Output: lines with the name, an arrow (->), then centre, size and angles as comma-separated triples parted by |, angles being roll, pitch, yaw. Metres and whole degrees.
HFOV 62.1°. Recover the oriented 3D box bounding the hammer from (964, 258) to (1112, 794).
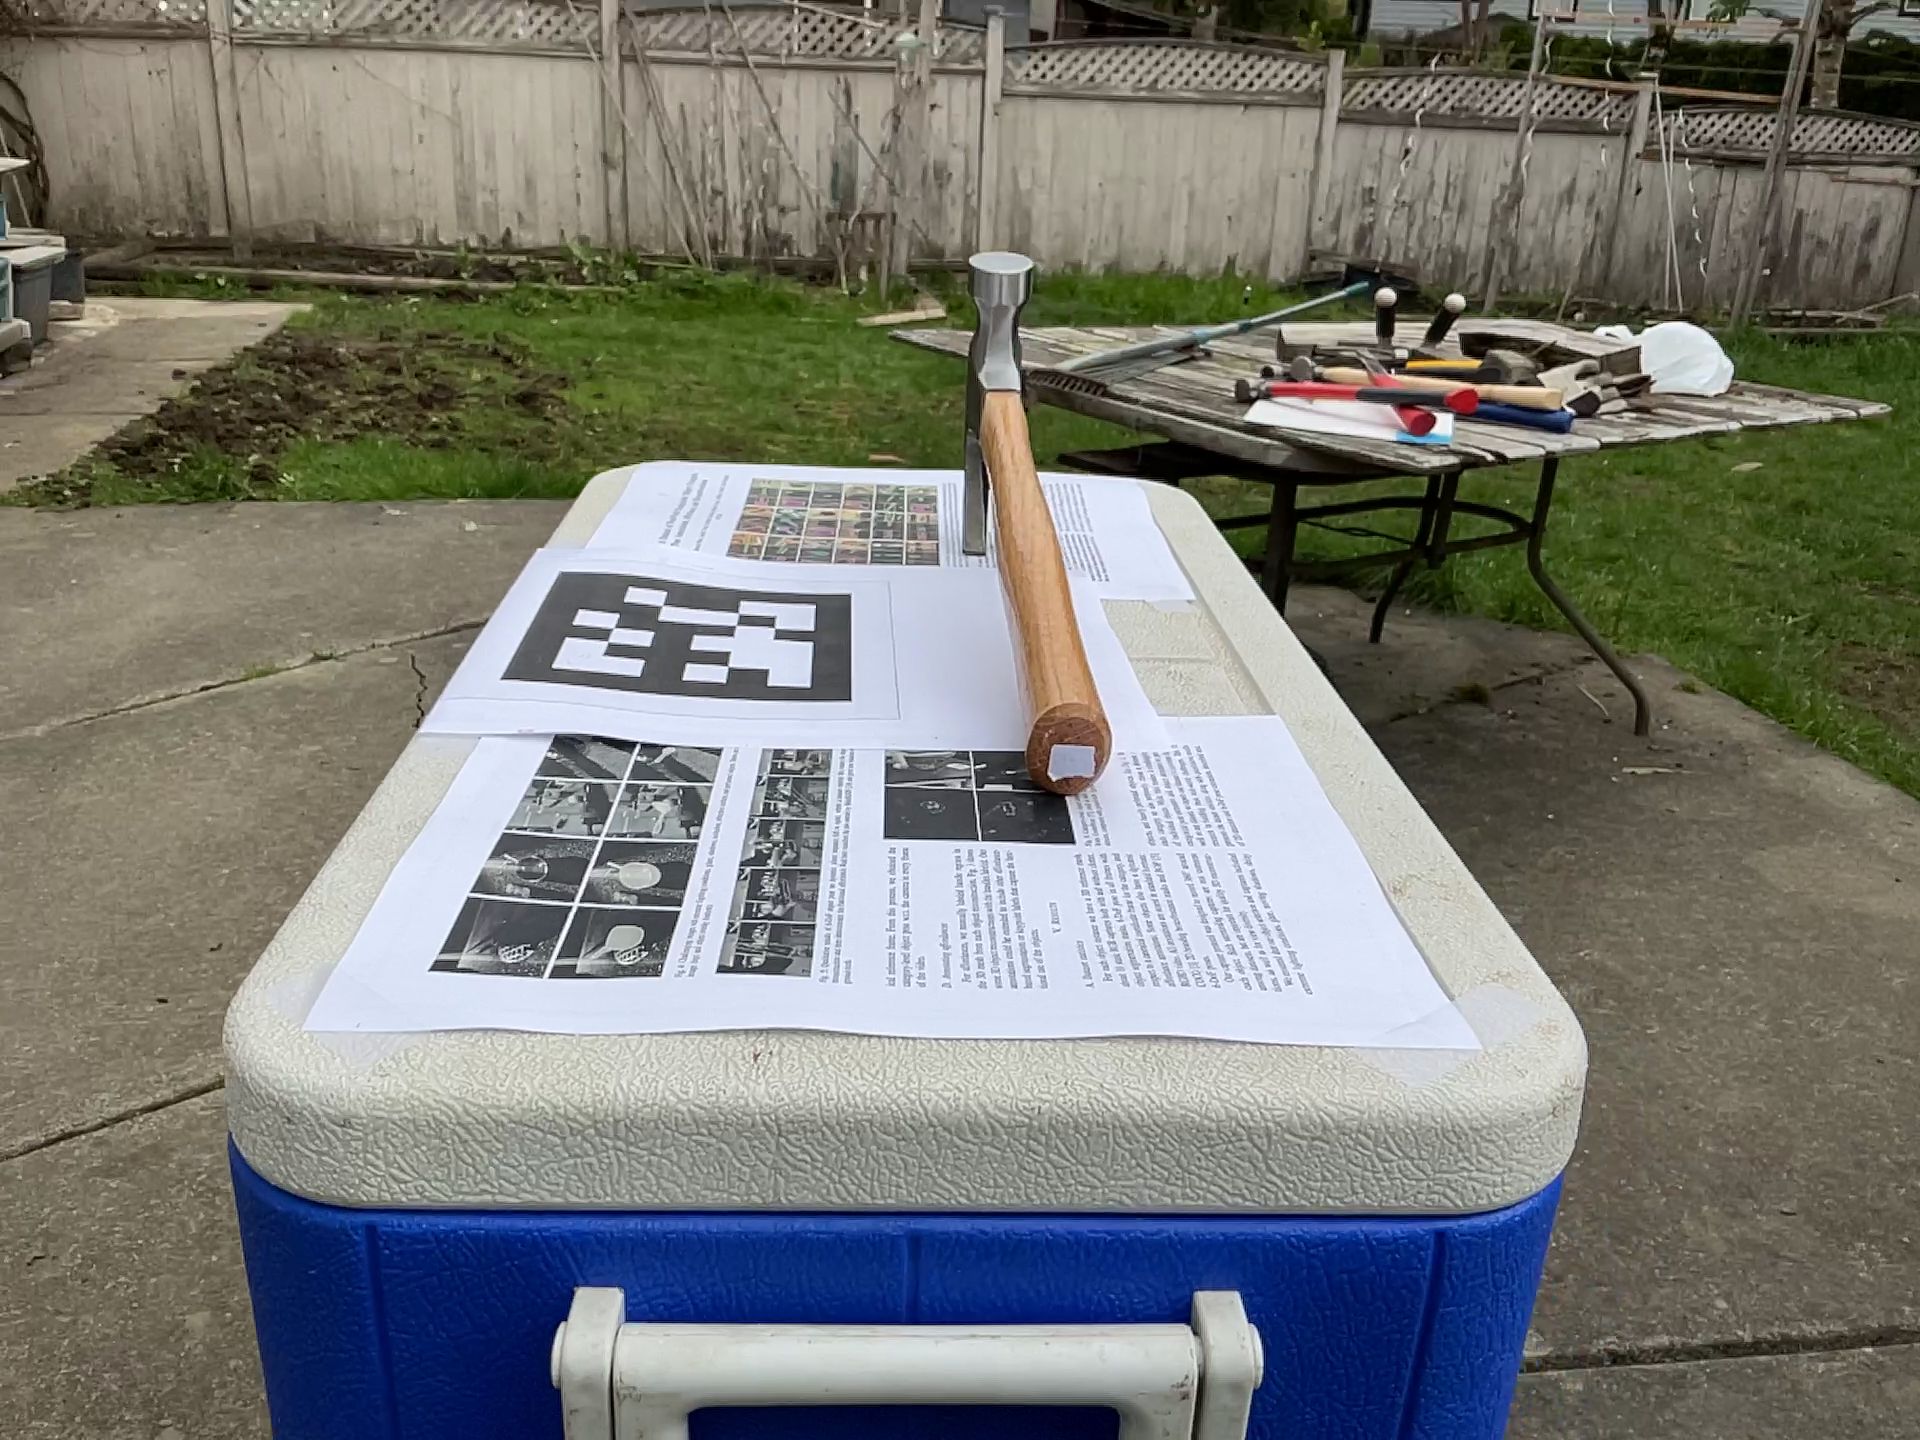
hammer -> 0.025, -0.076, 0.654 | 0.031, 0.130, 0.332 | 0, 33, -4
